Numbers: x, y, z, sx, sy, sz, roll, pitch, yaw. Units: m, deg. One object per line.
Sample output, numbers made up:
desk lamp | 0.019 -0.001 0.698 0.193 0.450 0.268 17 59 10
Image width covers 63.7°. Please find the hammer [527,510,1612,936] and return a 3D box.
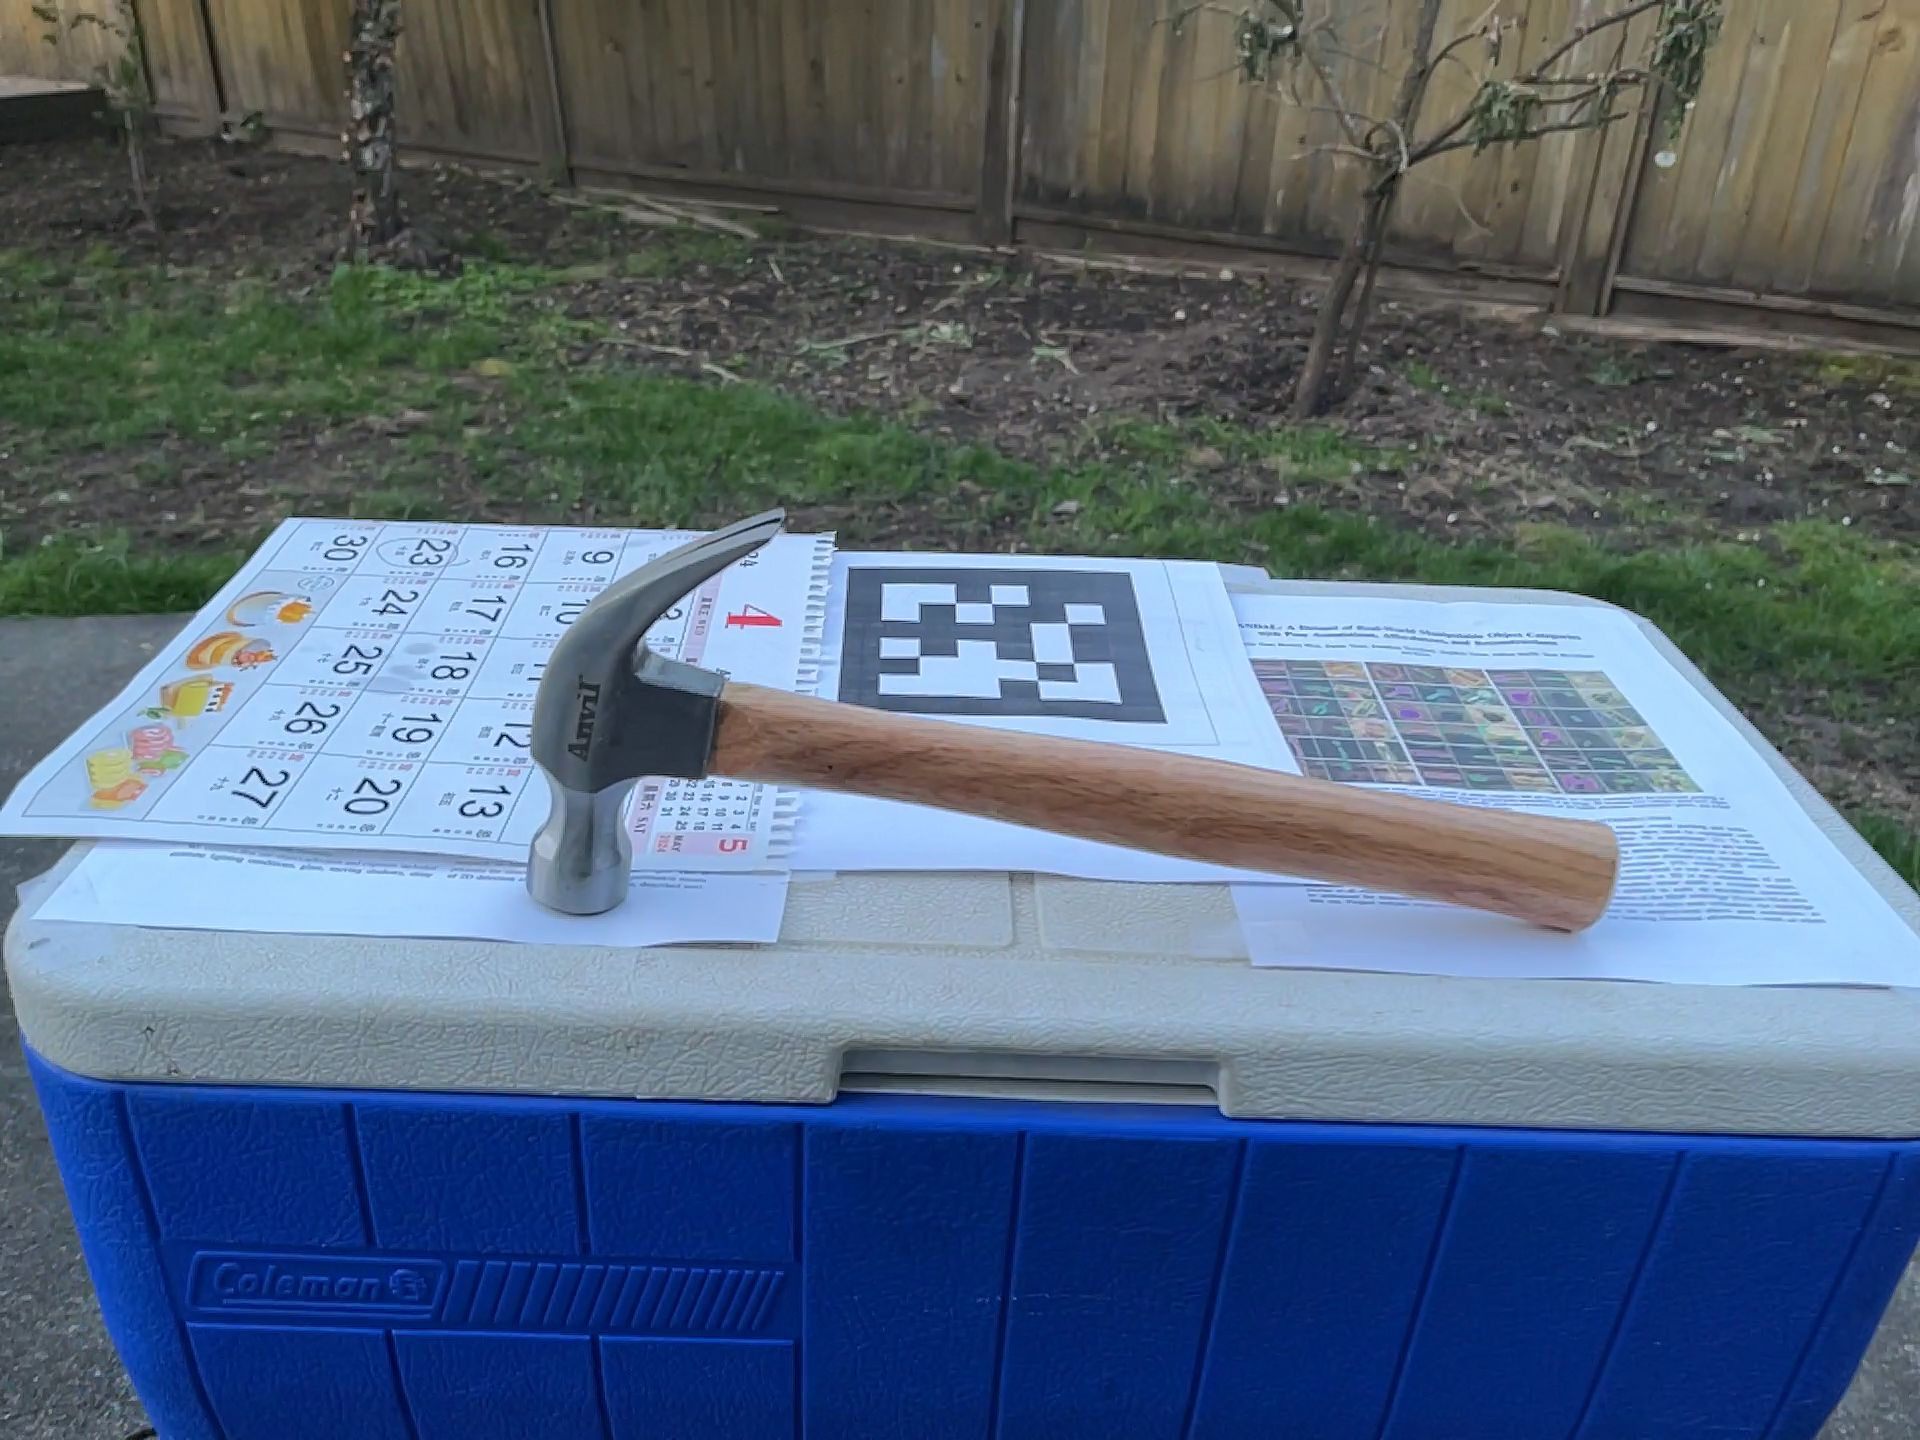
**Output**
hammer | 0.039 0.020 0.473 0.331 0.130 0.031 10 23 -6
